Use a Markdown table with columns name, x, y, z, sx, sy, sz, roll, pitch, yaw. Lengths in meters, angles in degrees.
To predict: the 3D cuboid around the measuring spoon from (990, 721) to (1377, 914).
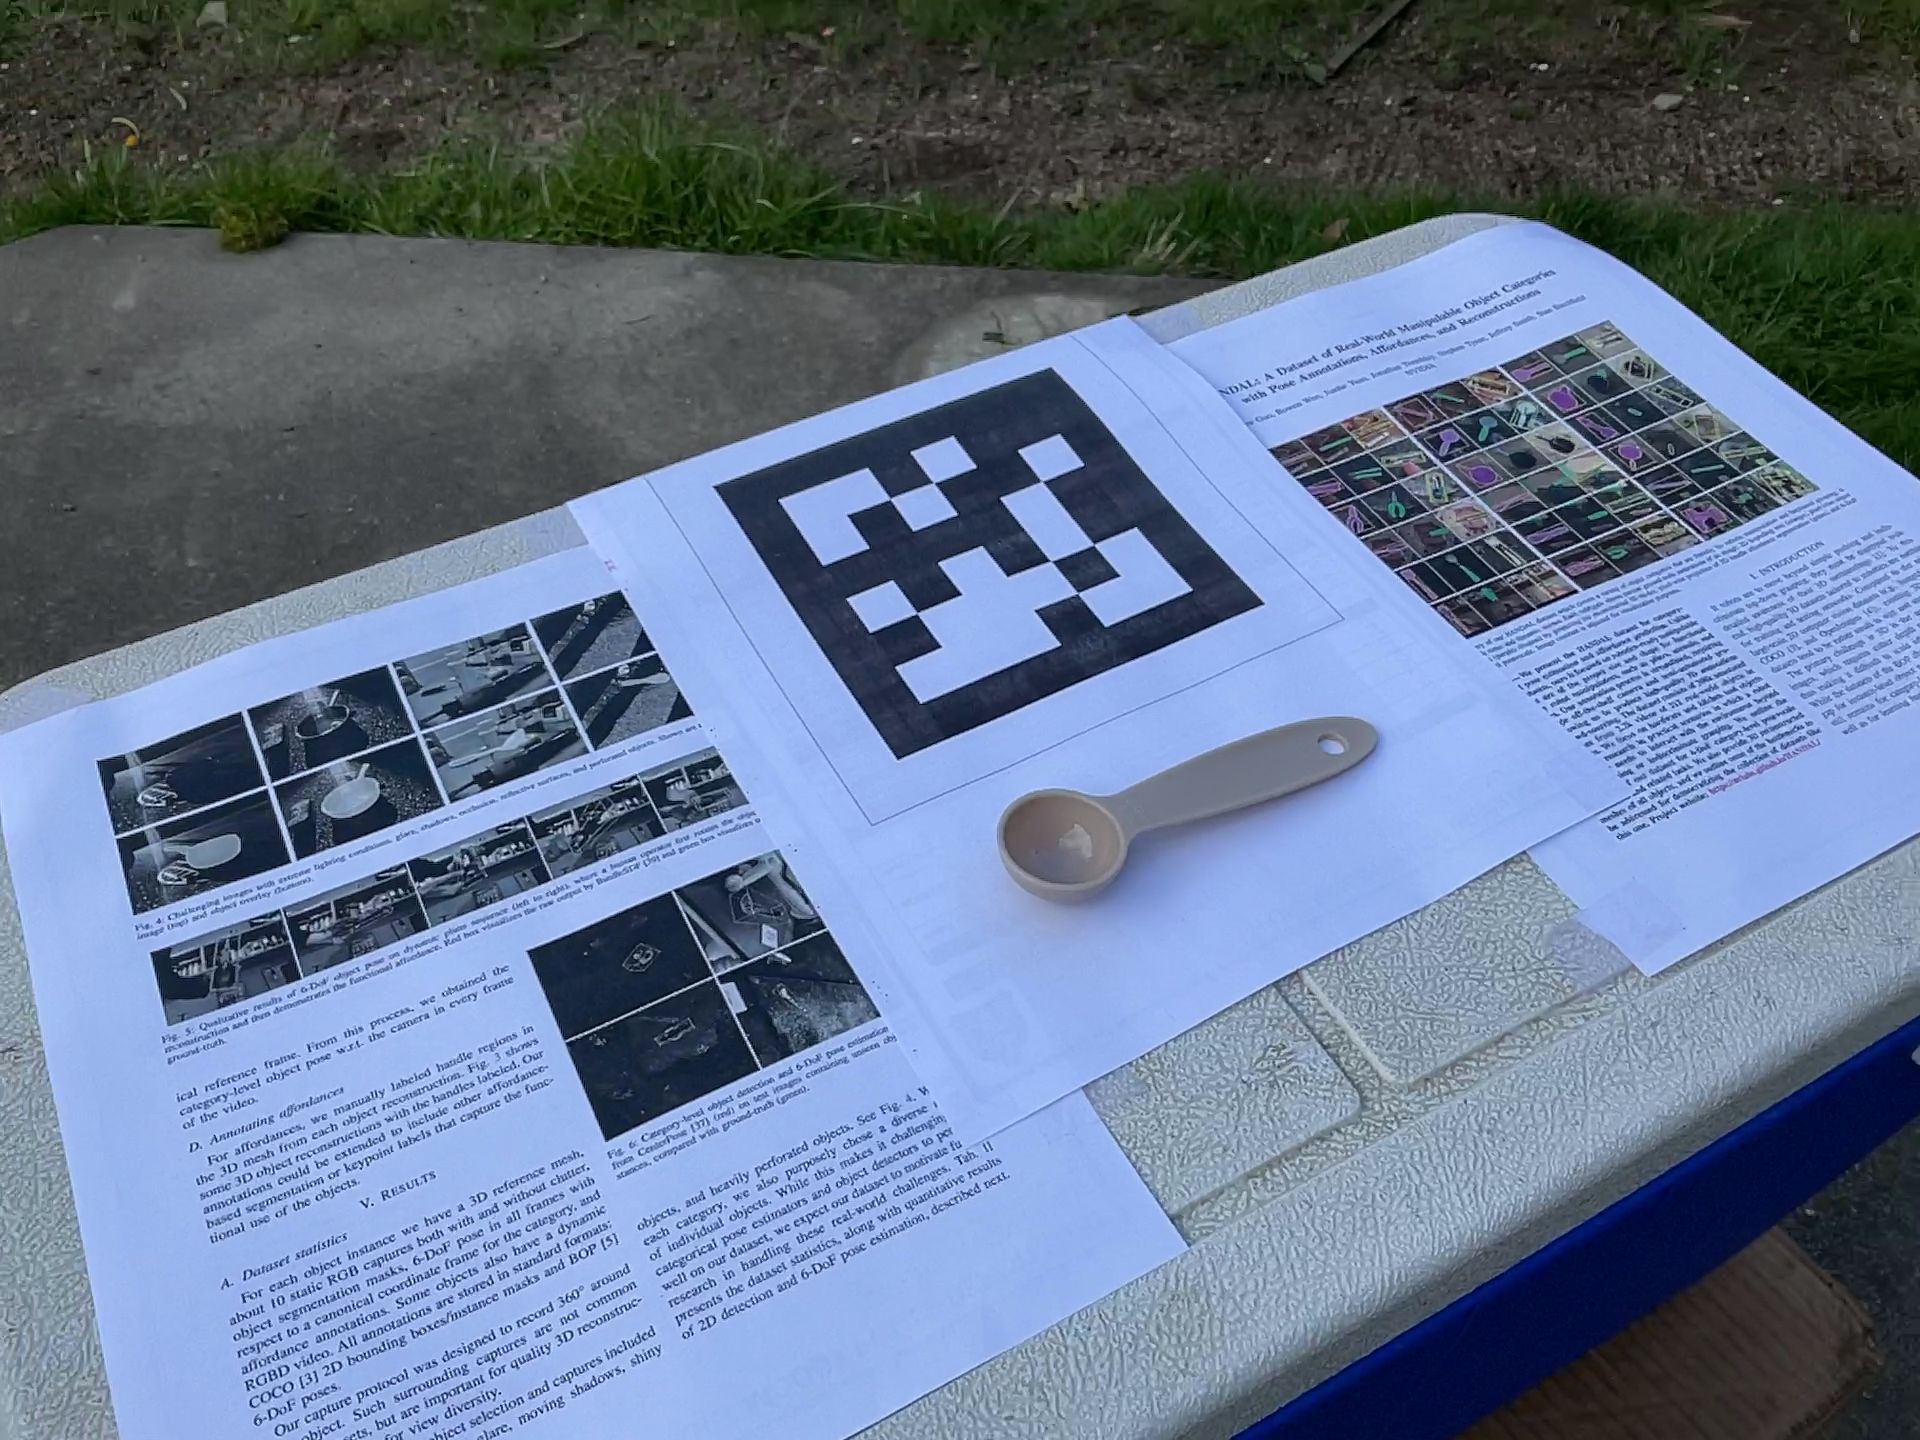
| name | x | y | z | sx | sy | sz | roll | pitch | yaw |
| --- | --- | --- | --- | --- | --- | --- | --- | --- | --- |
| measuring spoon | 0.063 | 0.025 | 0.431 | 0.124 | 0.018 | 0.034 | -18 | 50 | -25 |
